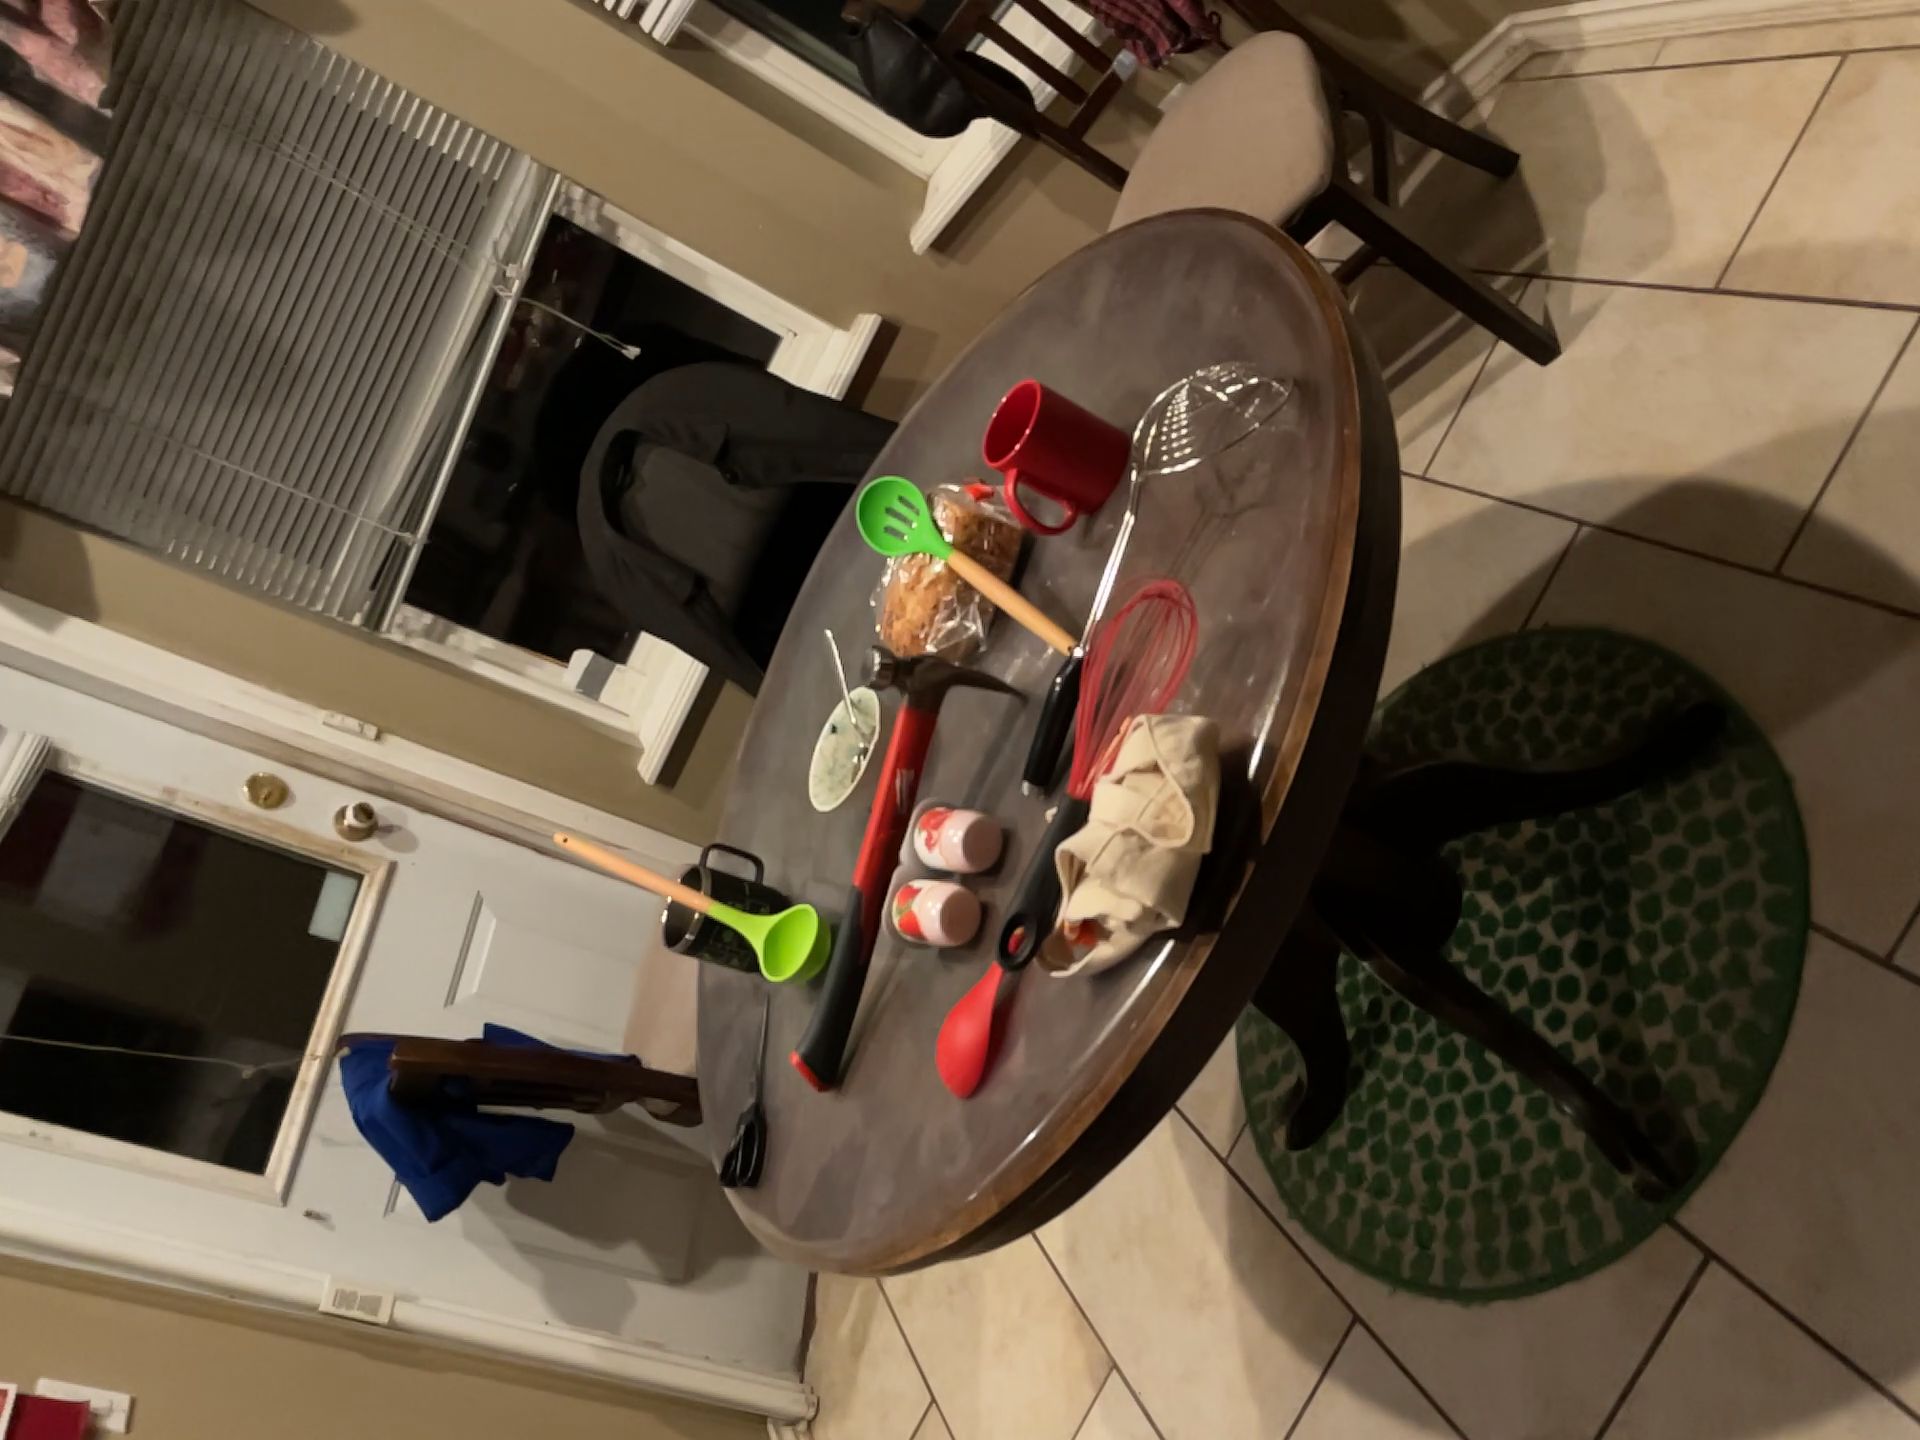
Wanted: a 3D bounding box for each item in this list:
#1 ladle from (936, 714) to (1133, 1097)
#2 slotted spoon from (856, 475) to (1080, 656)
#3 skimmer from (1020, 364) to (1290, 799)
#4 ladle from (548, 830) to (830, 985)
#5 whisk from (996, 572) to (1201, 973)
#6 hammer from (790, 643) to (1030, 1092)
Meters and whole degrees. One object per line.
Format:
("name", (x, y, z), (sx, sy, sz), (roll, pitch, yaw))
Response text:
("ladle", (0.057, 0.137, 1.179), (0.315, 0.031, 0.069), (-62, 27, 4))
("slotted spoon", (0.010, -0.126, 1.361), (0.314, 0.031, 0.070), (41, 111, 40))
("skimmer", (0.142, -0.100, 1.208), (0.127, 0.090, 0.363), (-121, 47, -68))
("ladle", (-0.265, 0.165, 1.506), (0.078, 0.320, 0.062), (-63, -19, -17))
("whisk", (0.090, 0.036, 1.087), (0.073, 0.073, 0.296), (22, 89, 63))
("hammer", (-0.057, 0.133, 1.340), (0.038, 0.143, 0.386), (-143, 66, -64))
